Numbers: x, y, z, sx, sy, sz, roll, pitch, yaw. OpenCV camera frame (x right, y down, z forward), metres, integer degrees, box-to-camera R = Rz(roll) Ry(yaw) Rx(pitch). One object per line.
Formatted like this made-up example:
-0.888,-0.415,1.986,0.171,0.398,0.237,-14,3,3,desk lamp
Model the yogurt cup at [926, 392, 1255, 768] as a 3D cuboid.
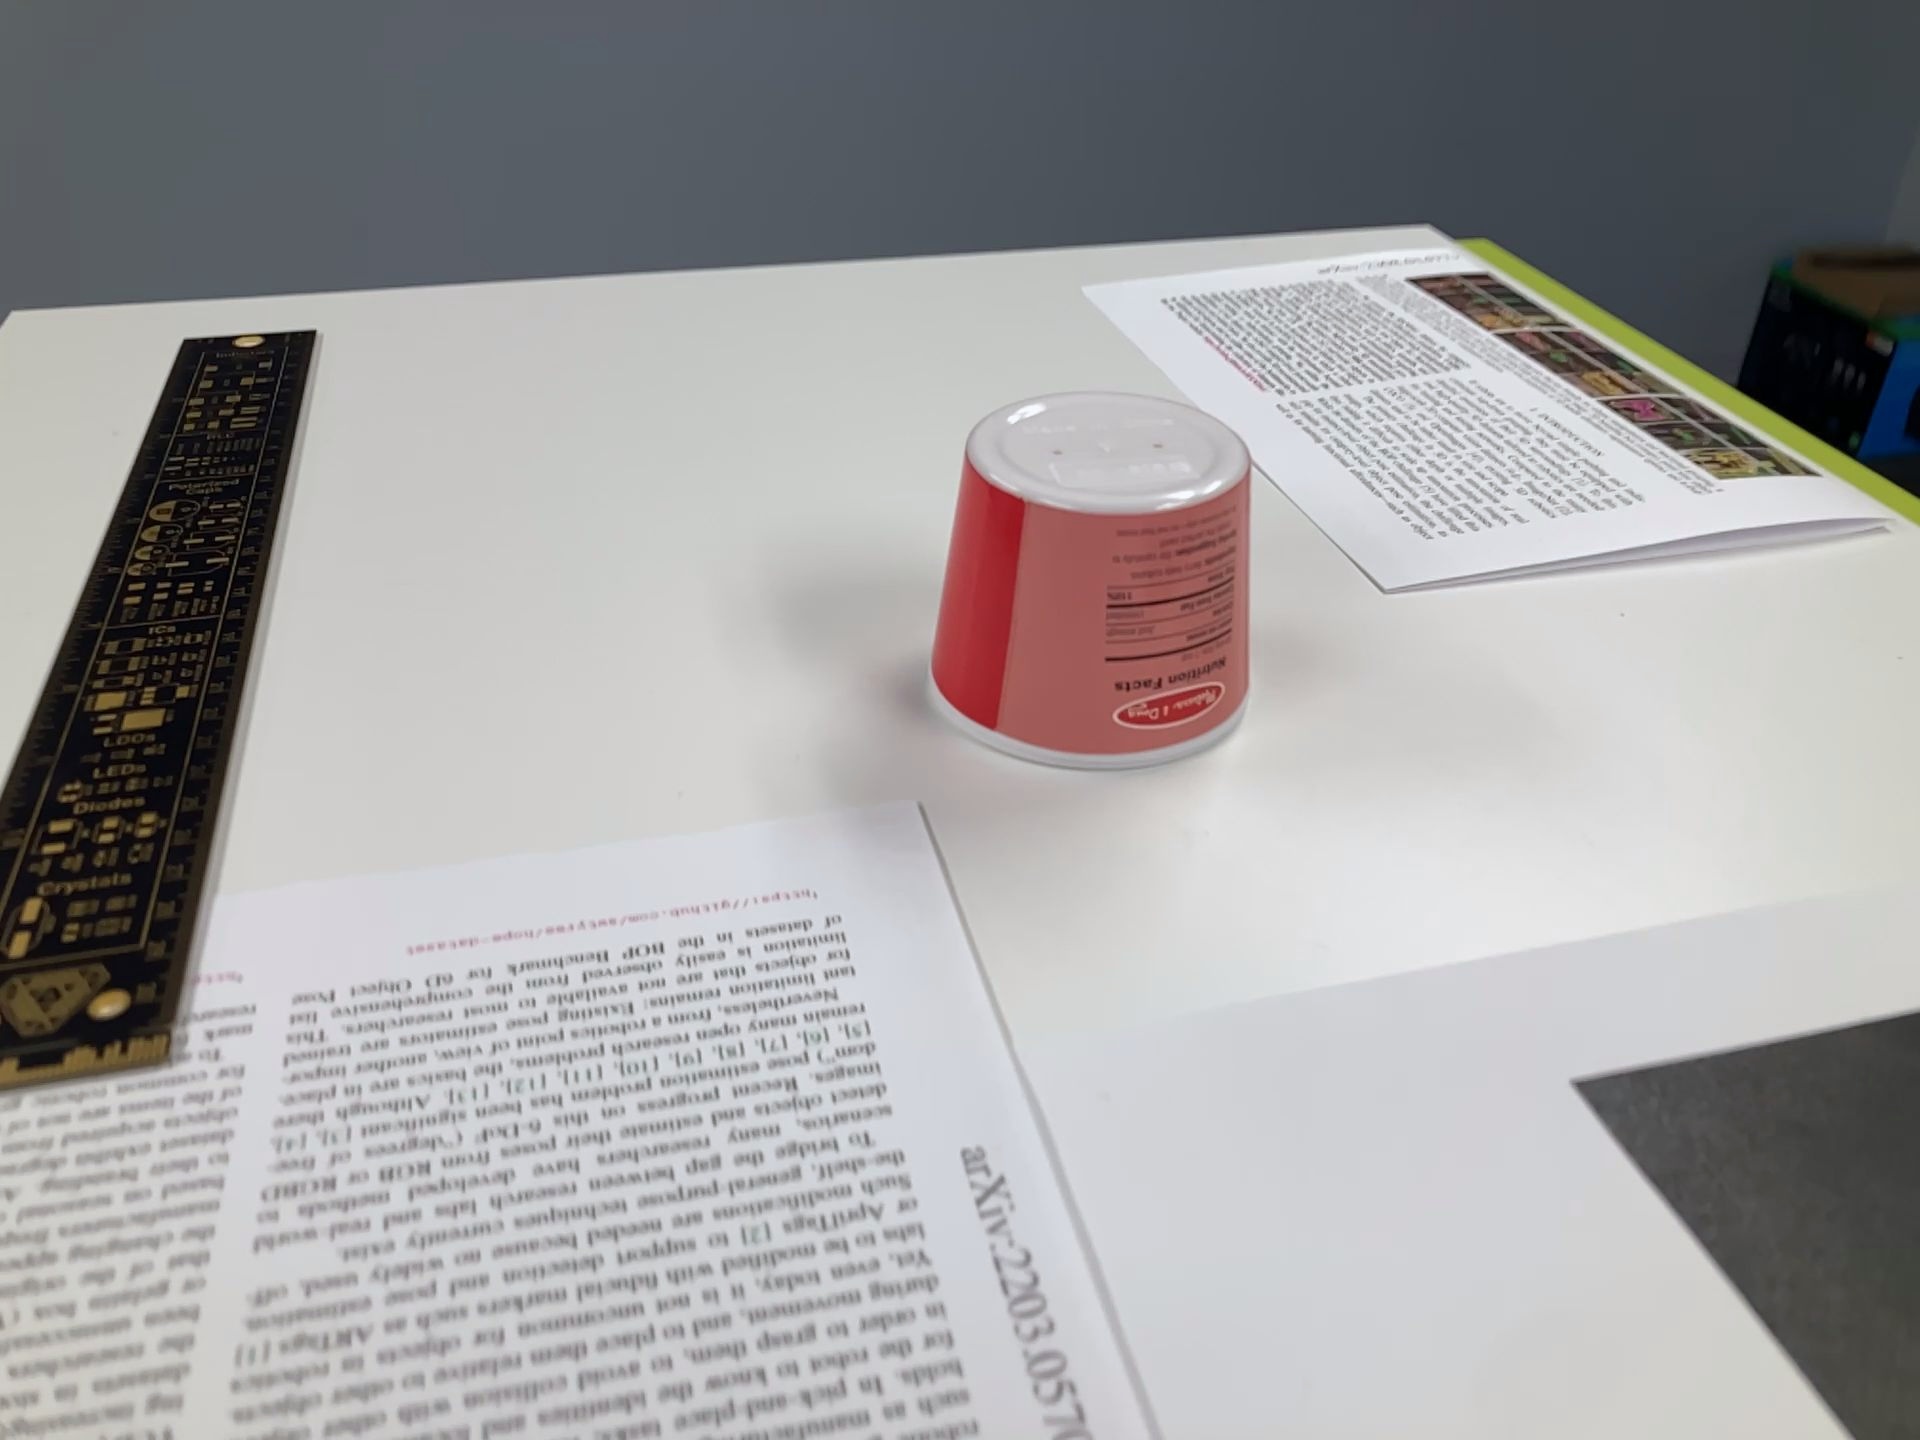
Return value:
0.028,-0.031,0.317,0.072,0.054,0.072,2,33,-1,yogurt cup
